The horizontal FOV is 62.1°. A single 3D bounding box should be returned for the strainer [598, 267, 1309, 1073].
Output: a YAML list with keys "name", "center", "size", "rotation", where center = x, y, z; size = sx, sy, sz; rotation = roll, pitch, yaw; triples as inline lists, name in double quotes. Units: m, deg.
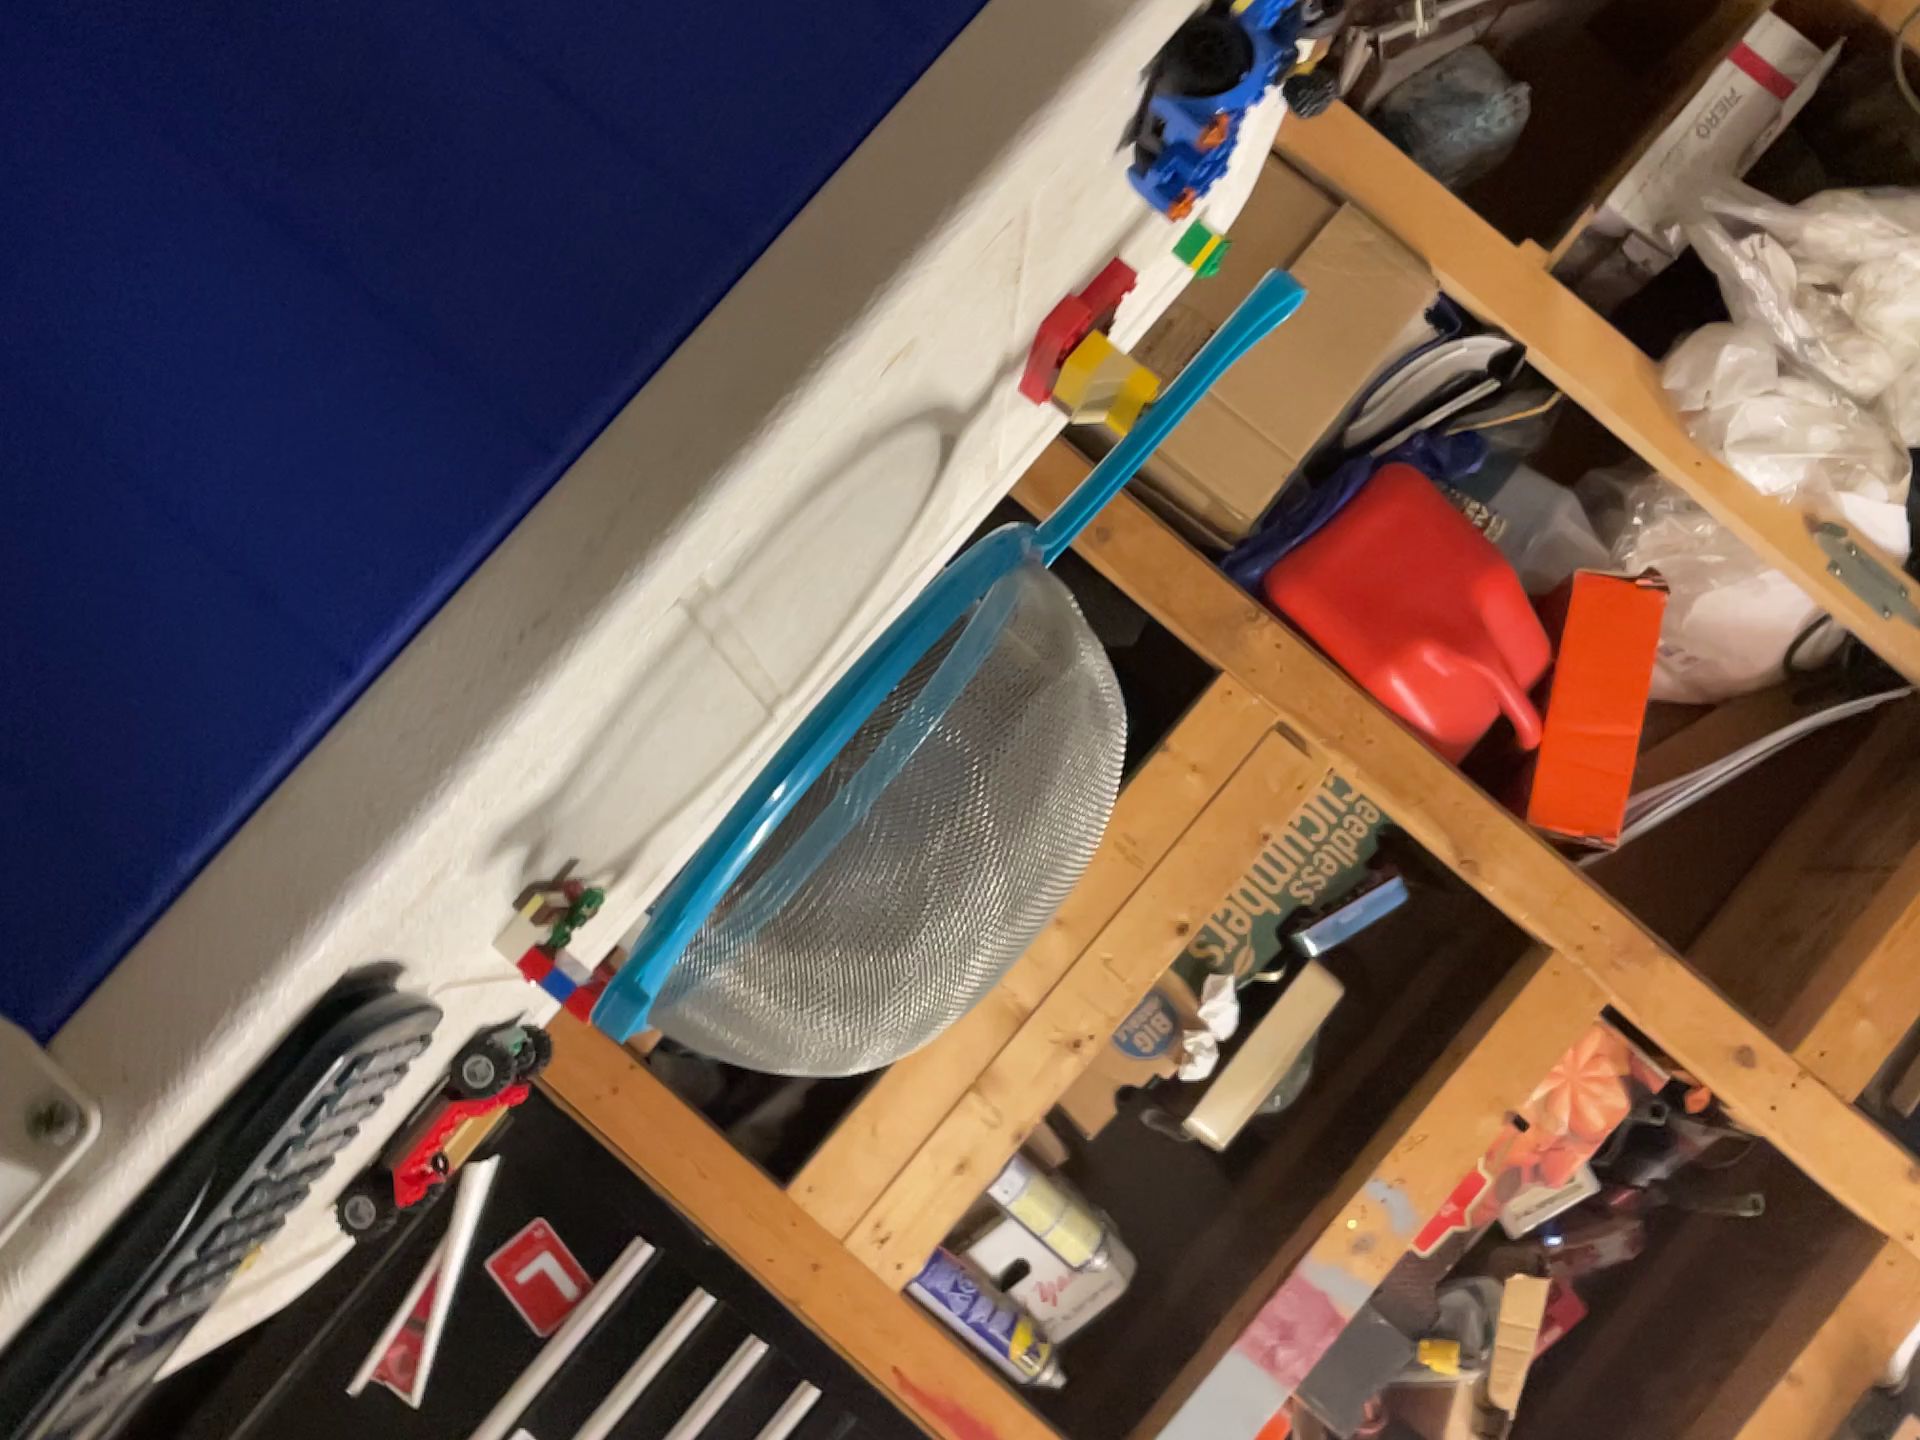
- name: "strainer"
  center: [0.032, -0.004, 0.534]
  size: [0.340, 0.095, 0.211]
  rotation: [-49, 176, -8]
